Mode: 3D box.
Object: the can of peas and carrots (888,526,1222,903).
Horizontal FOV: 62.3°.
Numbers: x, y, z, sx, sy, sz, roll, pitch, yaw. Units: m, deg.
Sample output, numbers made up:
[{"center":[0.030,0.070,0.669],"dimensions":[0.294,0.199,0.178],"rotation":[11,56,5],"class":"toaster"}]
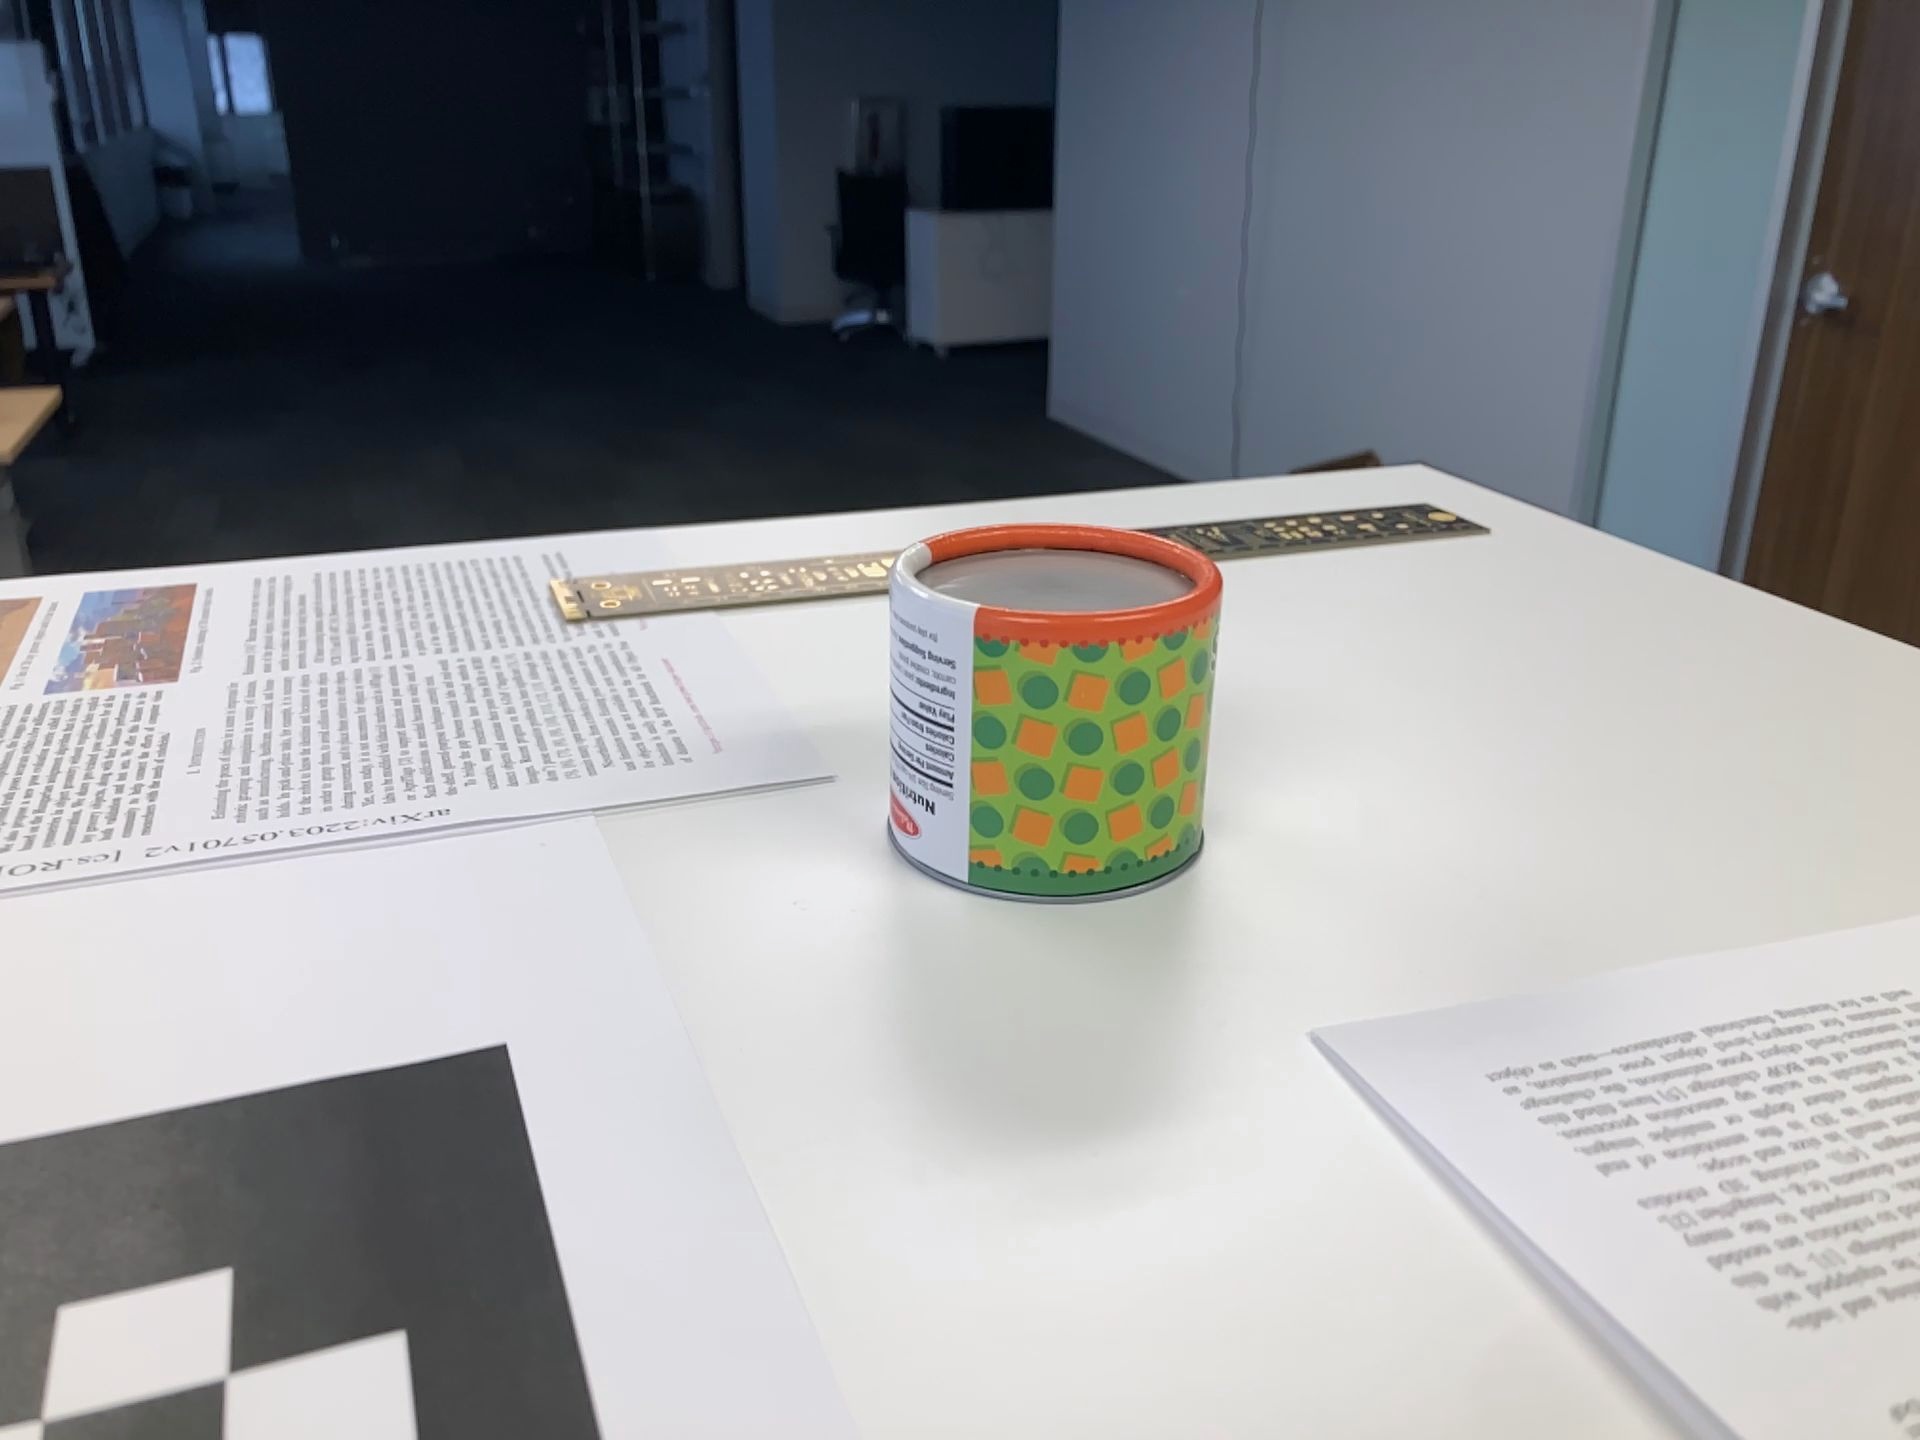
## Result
[{"center":[0.021,-0.004,0.327],"dimensions":[0.071,0.059,0.071],"rotation":[1,23,-1],"class":"can of peas and carrots"}]
